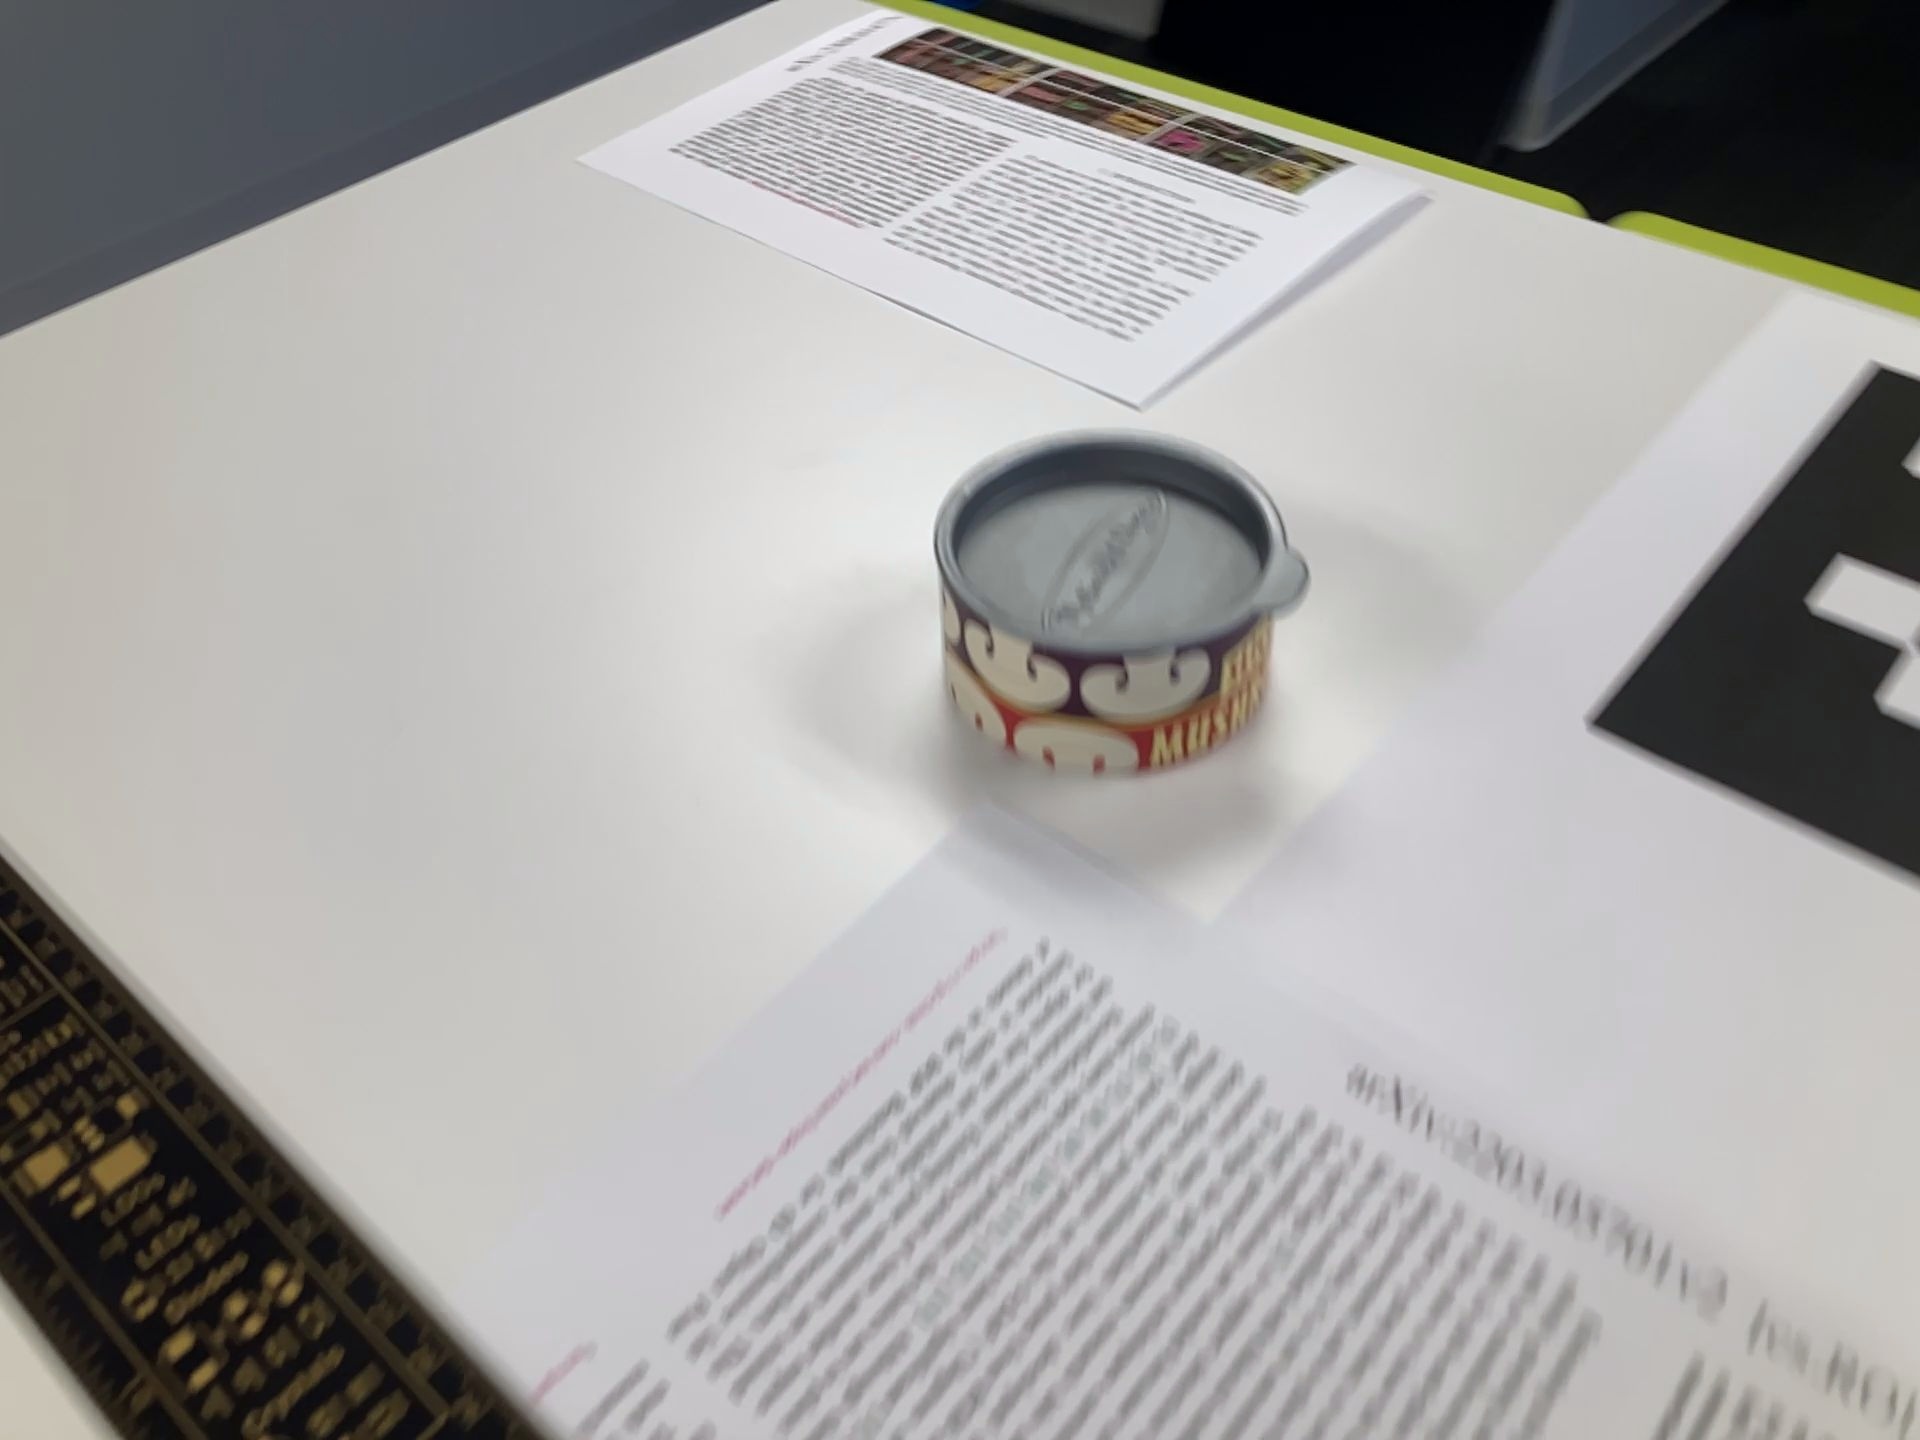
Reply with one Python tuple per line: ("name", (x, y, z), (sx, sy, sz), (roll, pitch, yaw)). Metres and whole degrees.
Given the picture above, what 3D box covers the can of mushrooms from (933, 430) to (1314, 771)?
("can of mushrooms", (0.031, -0.023, 0.305), (0.071, 0.033, 0.071), (-1, 44, 1))
